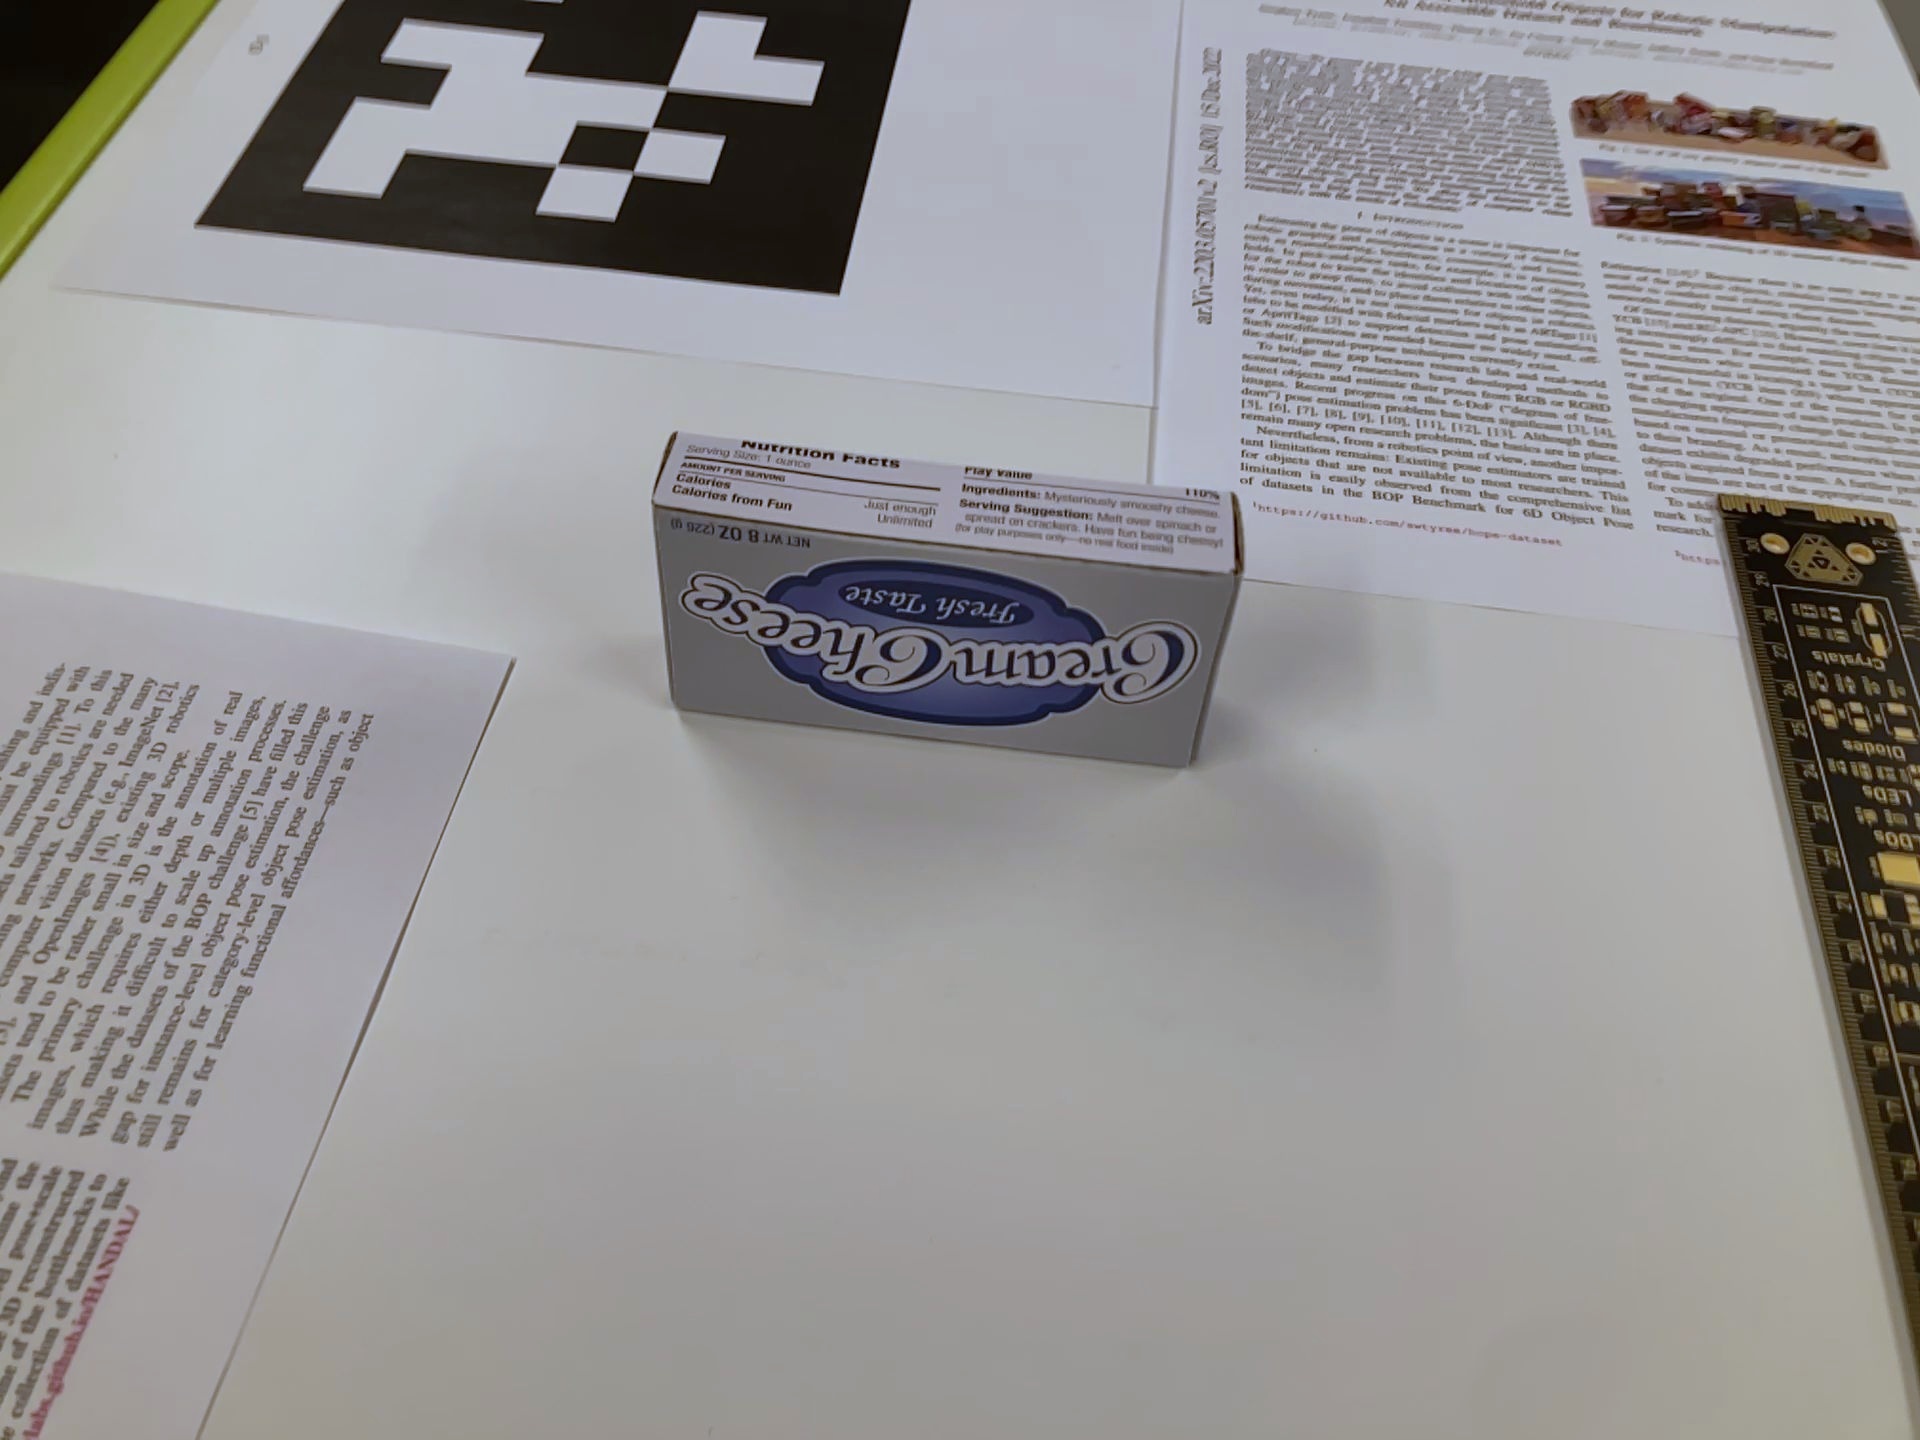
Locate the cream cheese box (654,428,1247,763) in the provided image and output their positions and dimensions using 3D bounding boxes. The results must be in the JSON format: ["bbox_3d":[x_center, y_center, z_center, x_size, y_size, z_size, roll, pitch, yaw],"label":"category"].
[{"bbox_3d":[-0.003,-0.022,0.294,0.104,0.053,0.024,7,50,1],"label":"cream cheese box"}]
